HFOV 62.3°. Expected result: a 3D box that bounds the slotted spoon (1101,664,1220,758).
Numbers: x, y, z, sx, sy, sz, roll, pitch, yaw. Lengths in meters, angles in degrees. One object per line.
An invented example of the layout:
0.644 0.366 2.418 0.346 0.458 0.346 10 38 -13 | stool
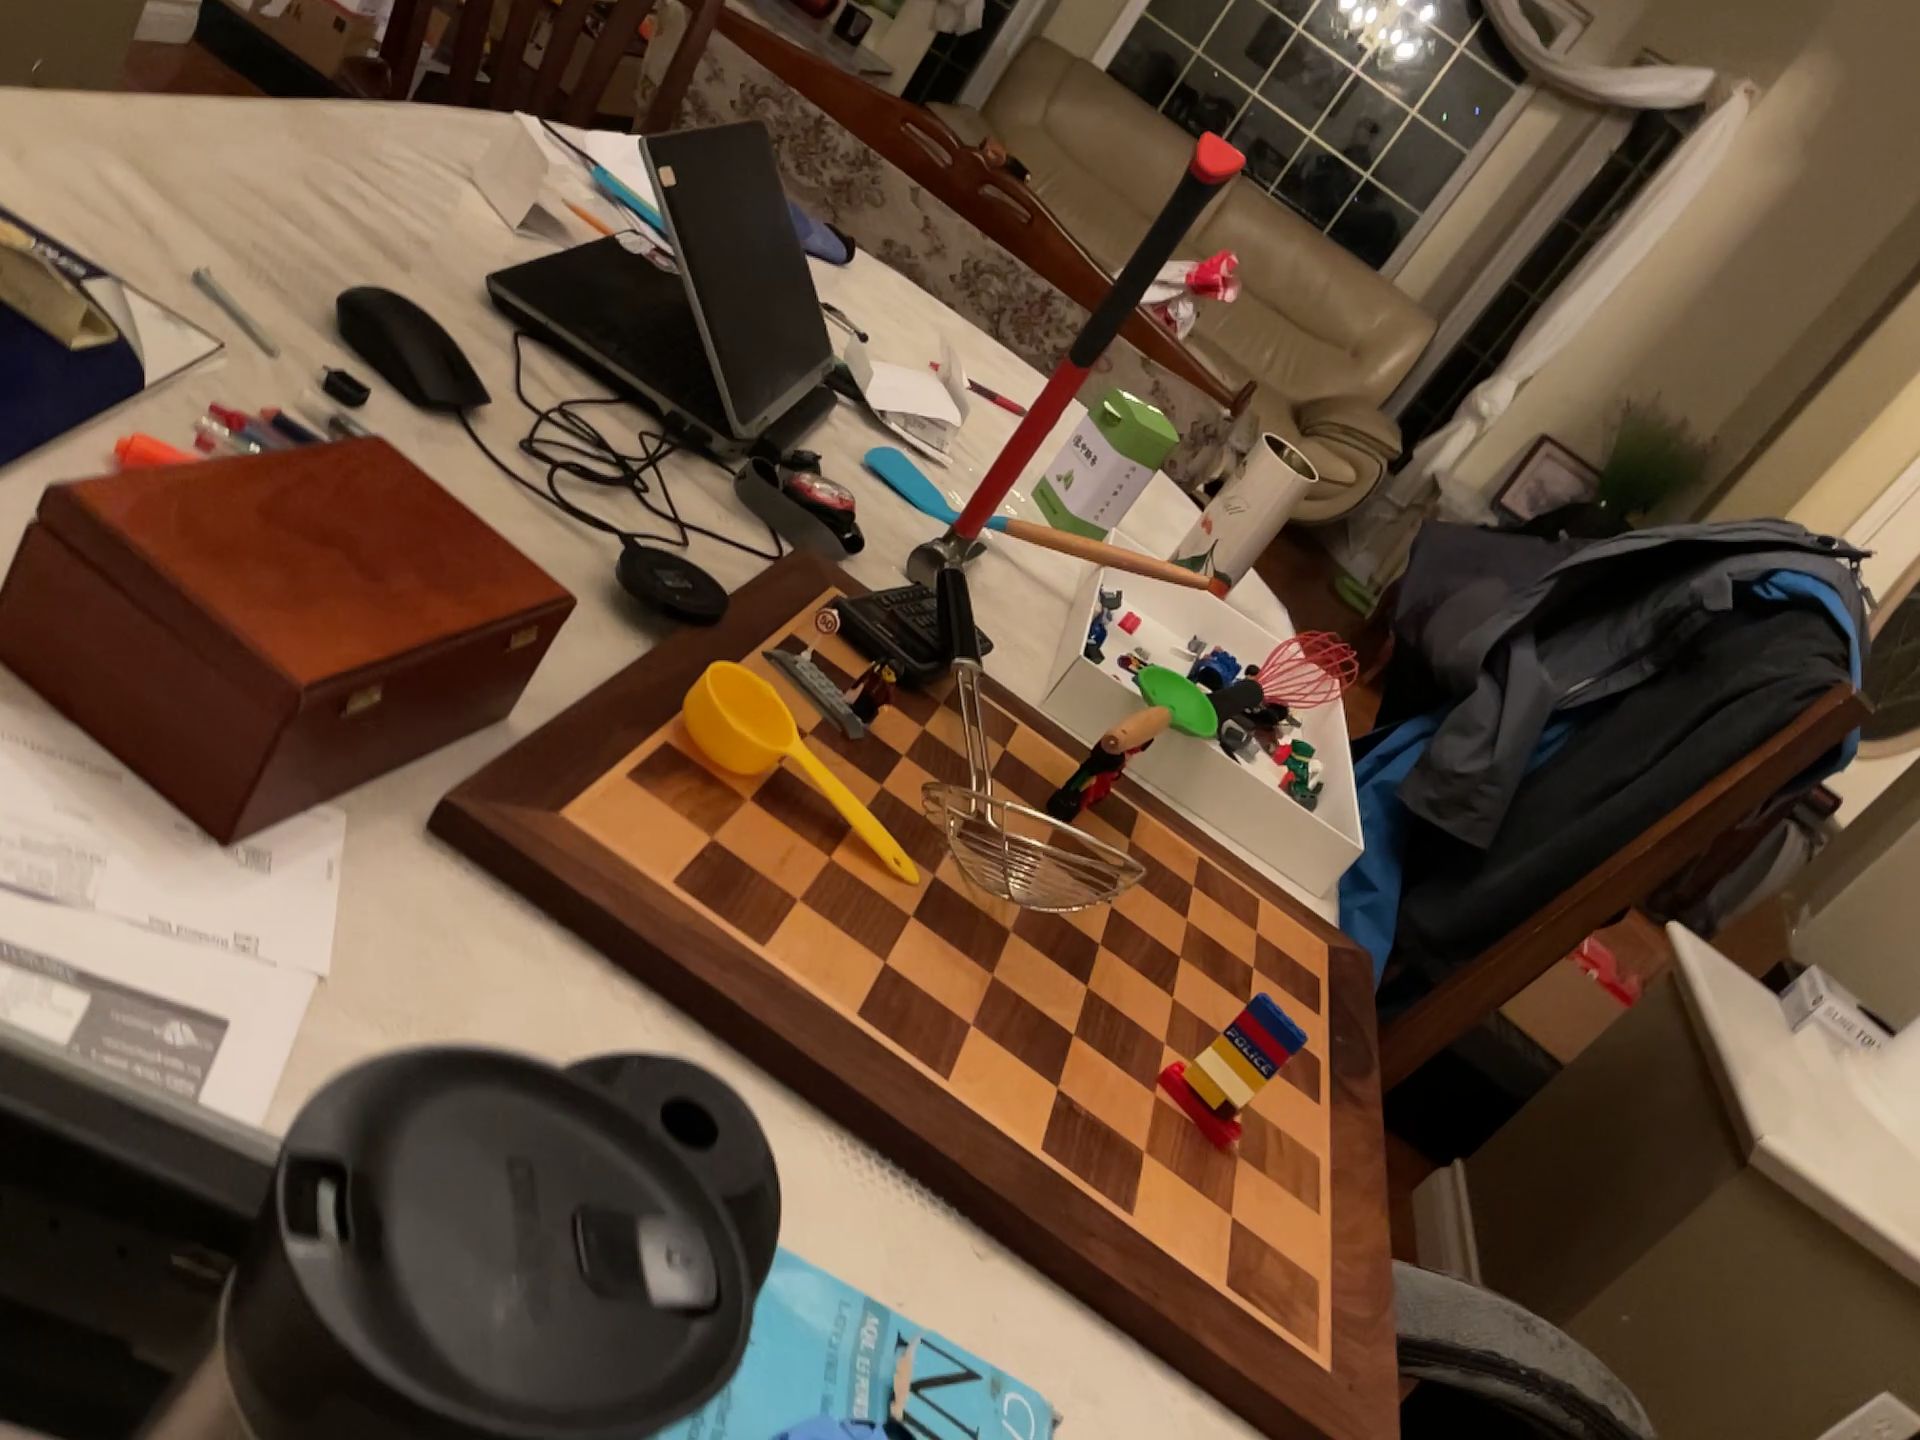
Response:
0.125 -0.001 1.033 0.070 0.031 0.313 42 15 8 | slotted spoon

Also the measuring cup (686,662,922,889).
-0.081 0.036 0.819 0.156 0.029 0.062 47 19 -6 | measuring cup

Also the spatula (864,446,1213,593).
0.068 -0.171 1.375 0.318 0.044 0.082 18 19 11 | spatula

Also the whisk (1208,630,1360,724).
0.265 -0.026 1.389 0.073 0.073 0.295 29 31 33 | whisk

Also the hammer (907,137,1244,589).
0.089 -0.267 1.220 0.038 0.386 0.143 37 23 1 | hammer

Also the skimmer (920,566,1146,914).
0.026 -0.014 0.953 0.127 0.090 0.363 24 30 -22 | skimmer
